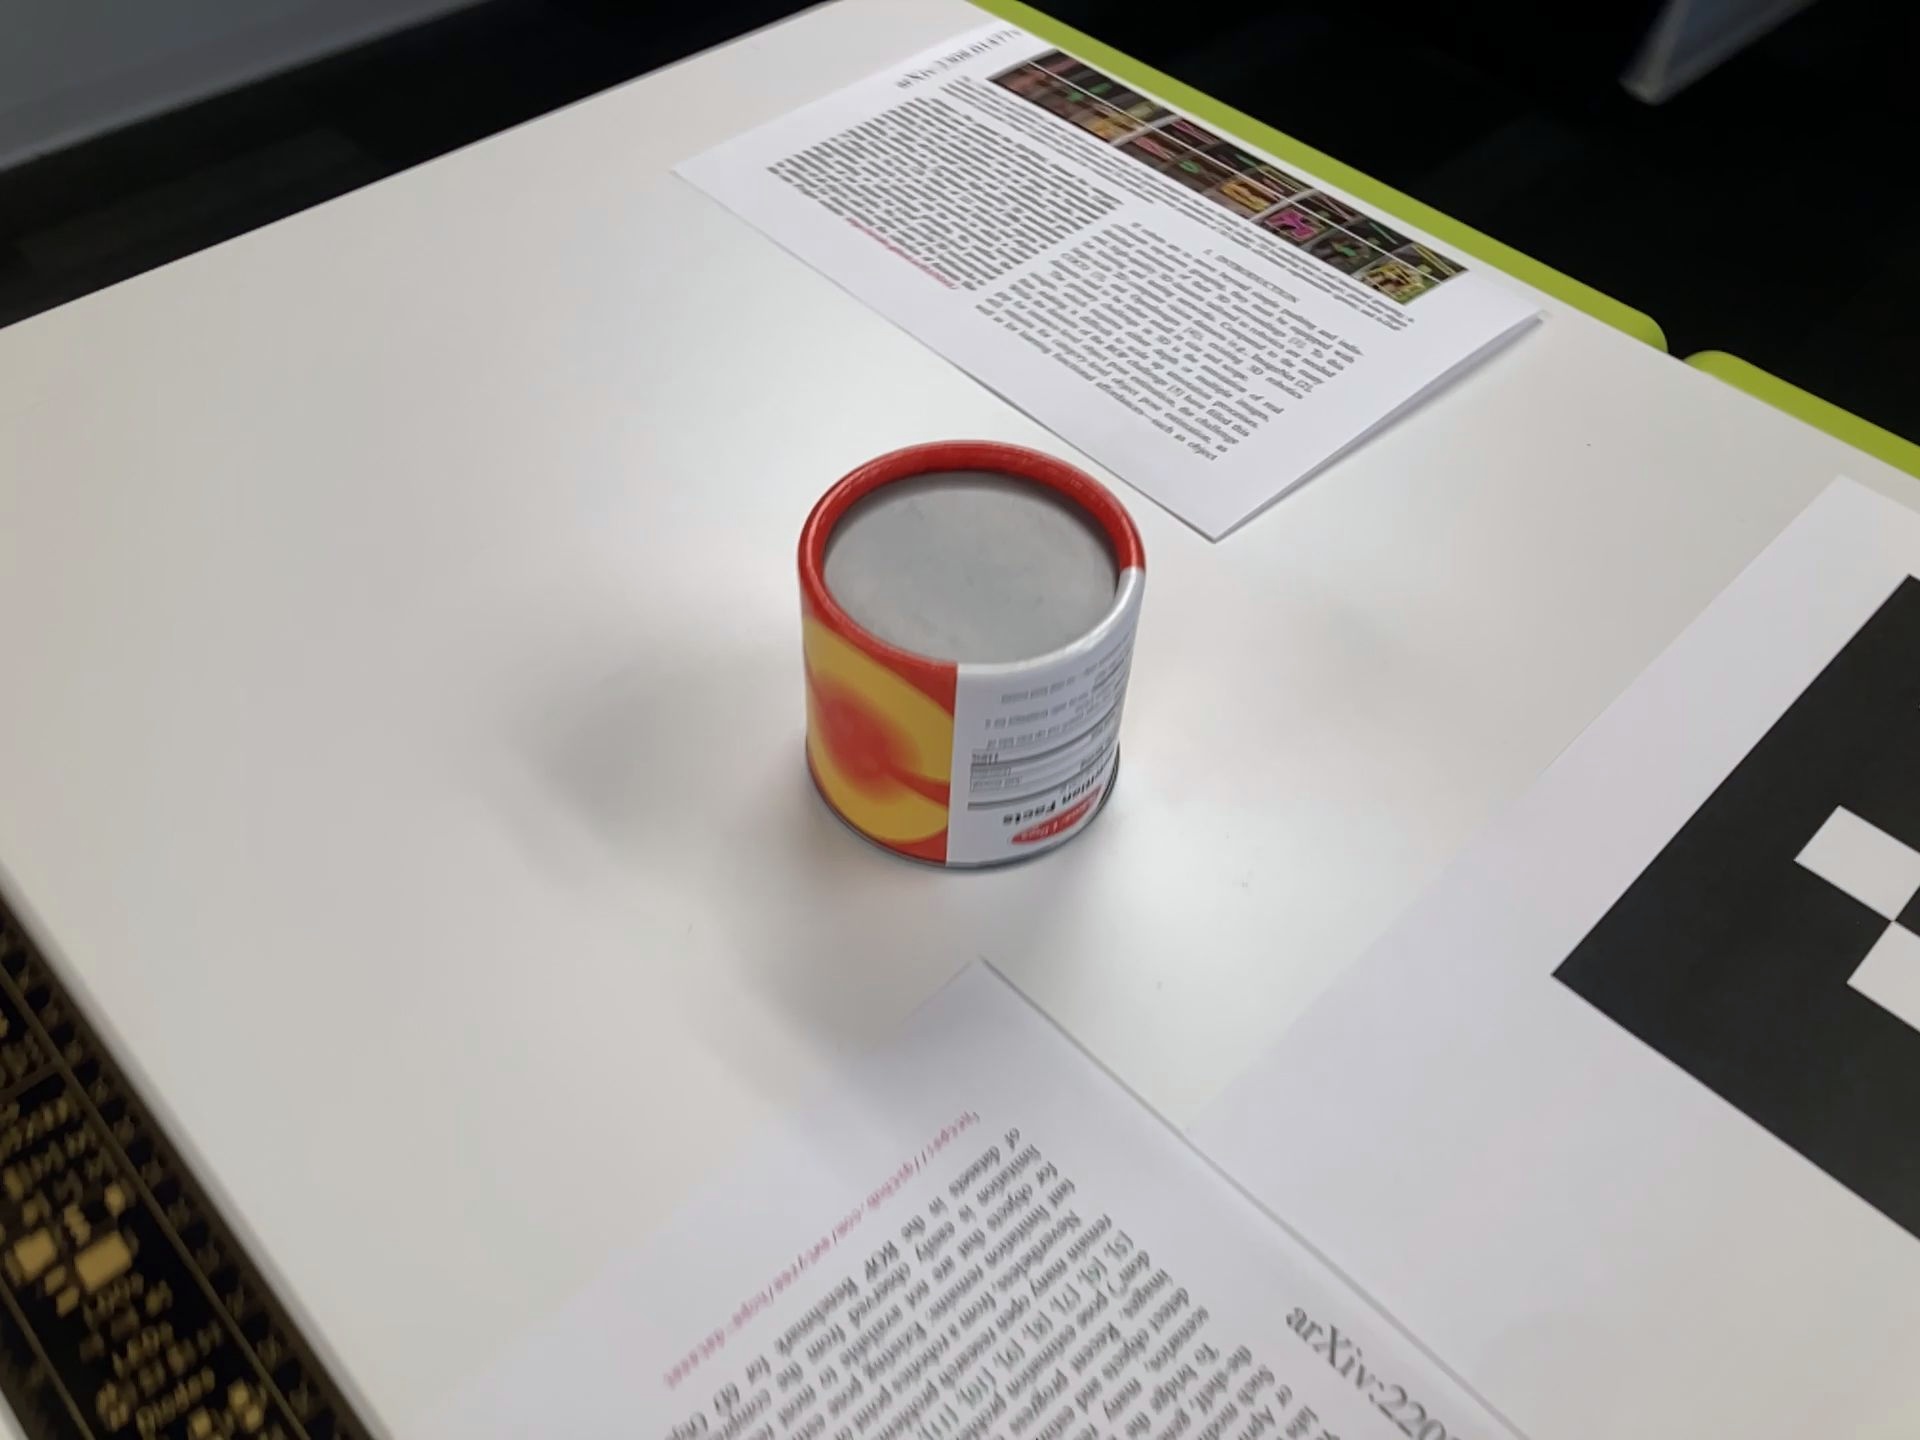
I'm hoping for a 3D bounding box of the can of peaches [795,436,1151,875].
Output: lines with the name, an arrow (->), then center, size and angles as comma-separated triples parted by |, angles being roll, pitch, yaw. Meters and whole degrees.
can of peaches -> 0.000, -0.014, 0.311 | 0.071, 0.058, 0.071 | 1, 50, -1
